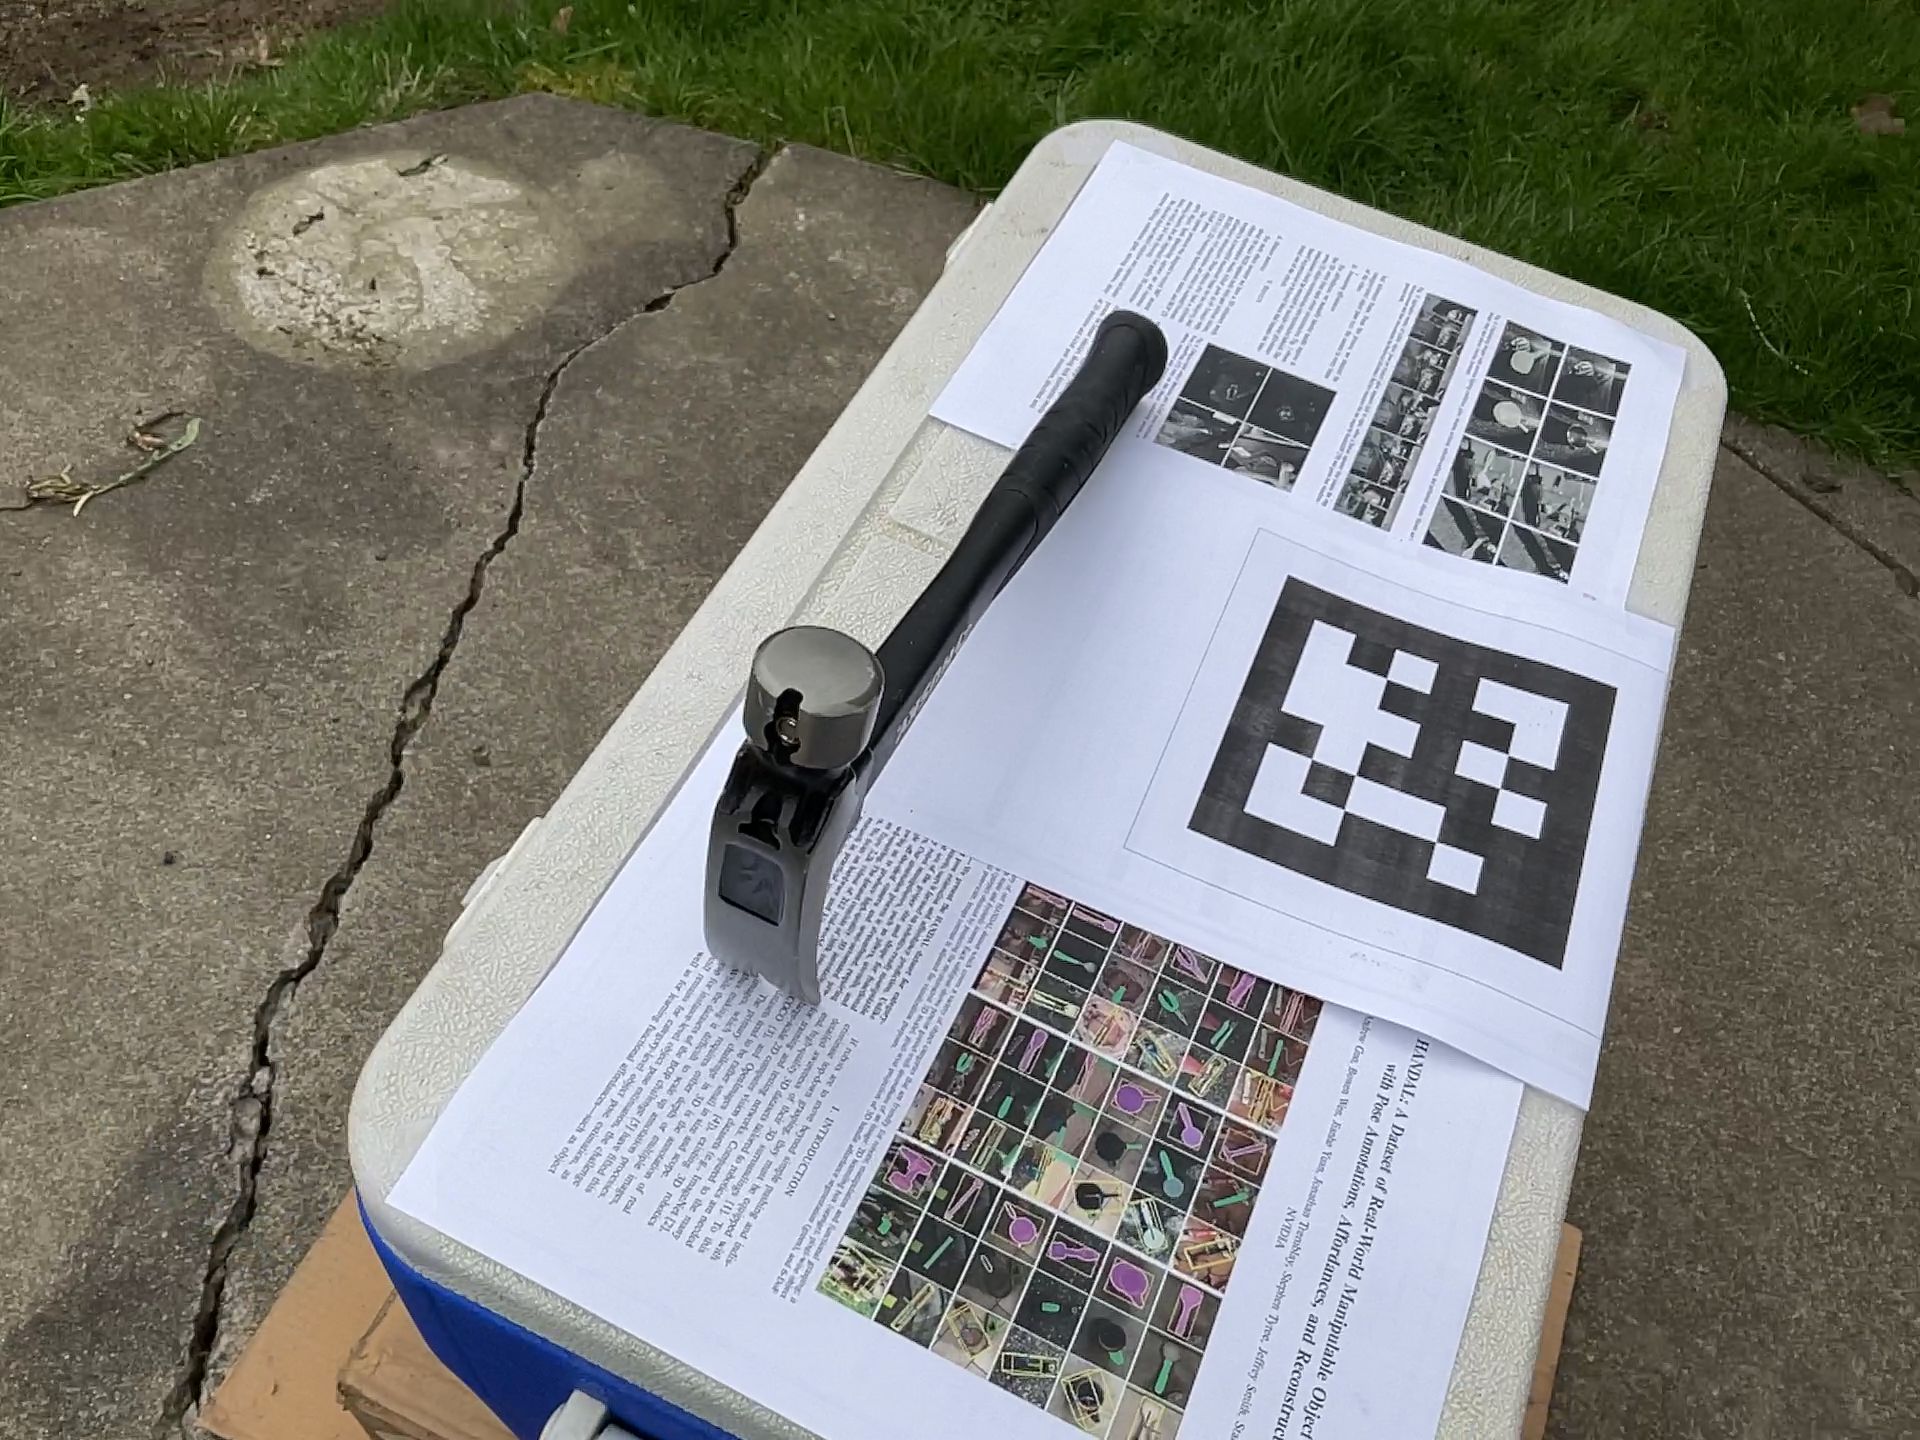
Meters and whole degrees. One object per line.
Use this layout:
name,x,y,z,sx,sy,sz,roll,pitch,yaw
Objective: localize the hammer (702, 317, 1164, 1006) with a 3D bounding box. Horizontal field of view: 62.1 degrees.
hammer,0.006,-0.048,0.540,0.035,0.146,0.334,25,43,8
